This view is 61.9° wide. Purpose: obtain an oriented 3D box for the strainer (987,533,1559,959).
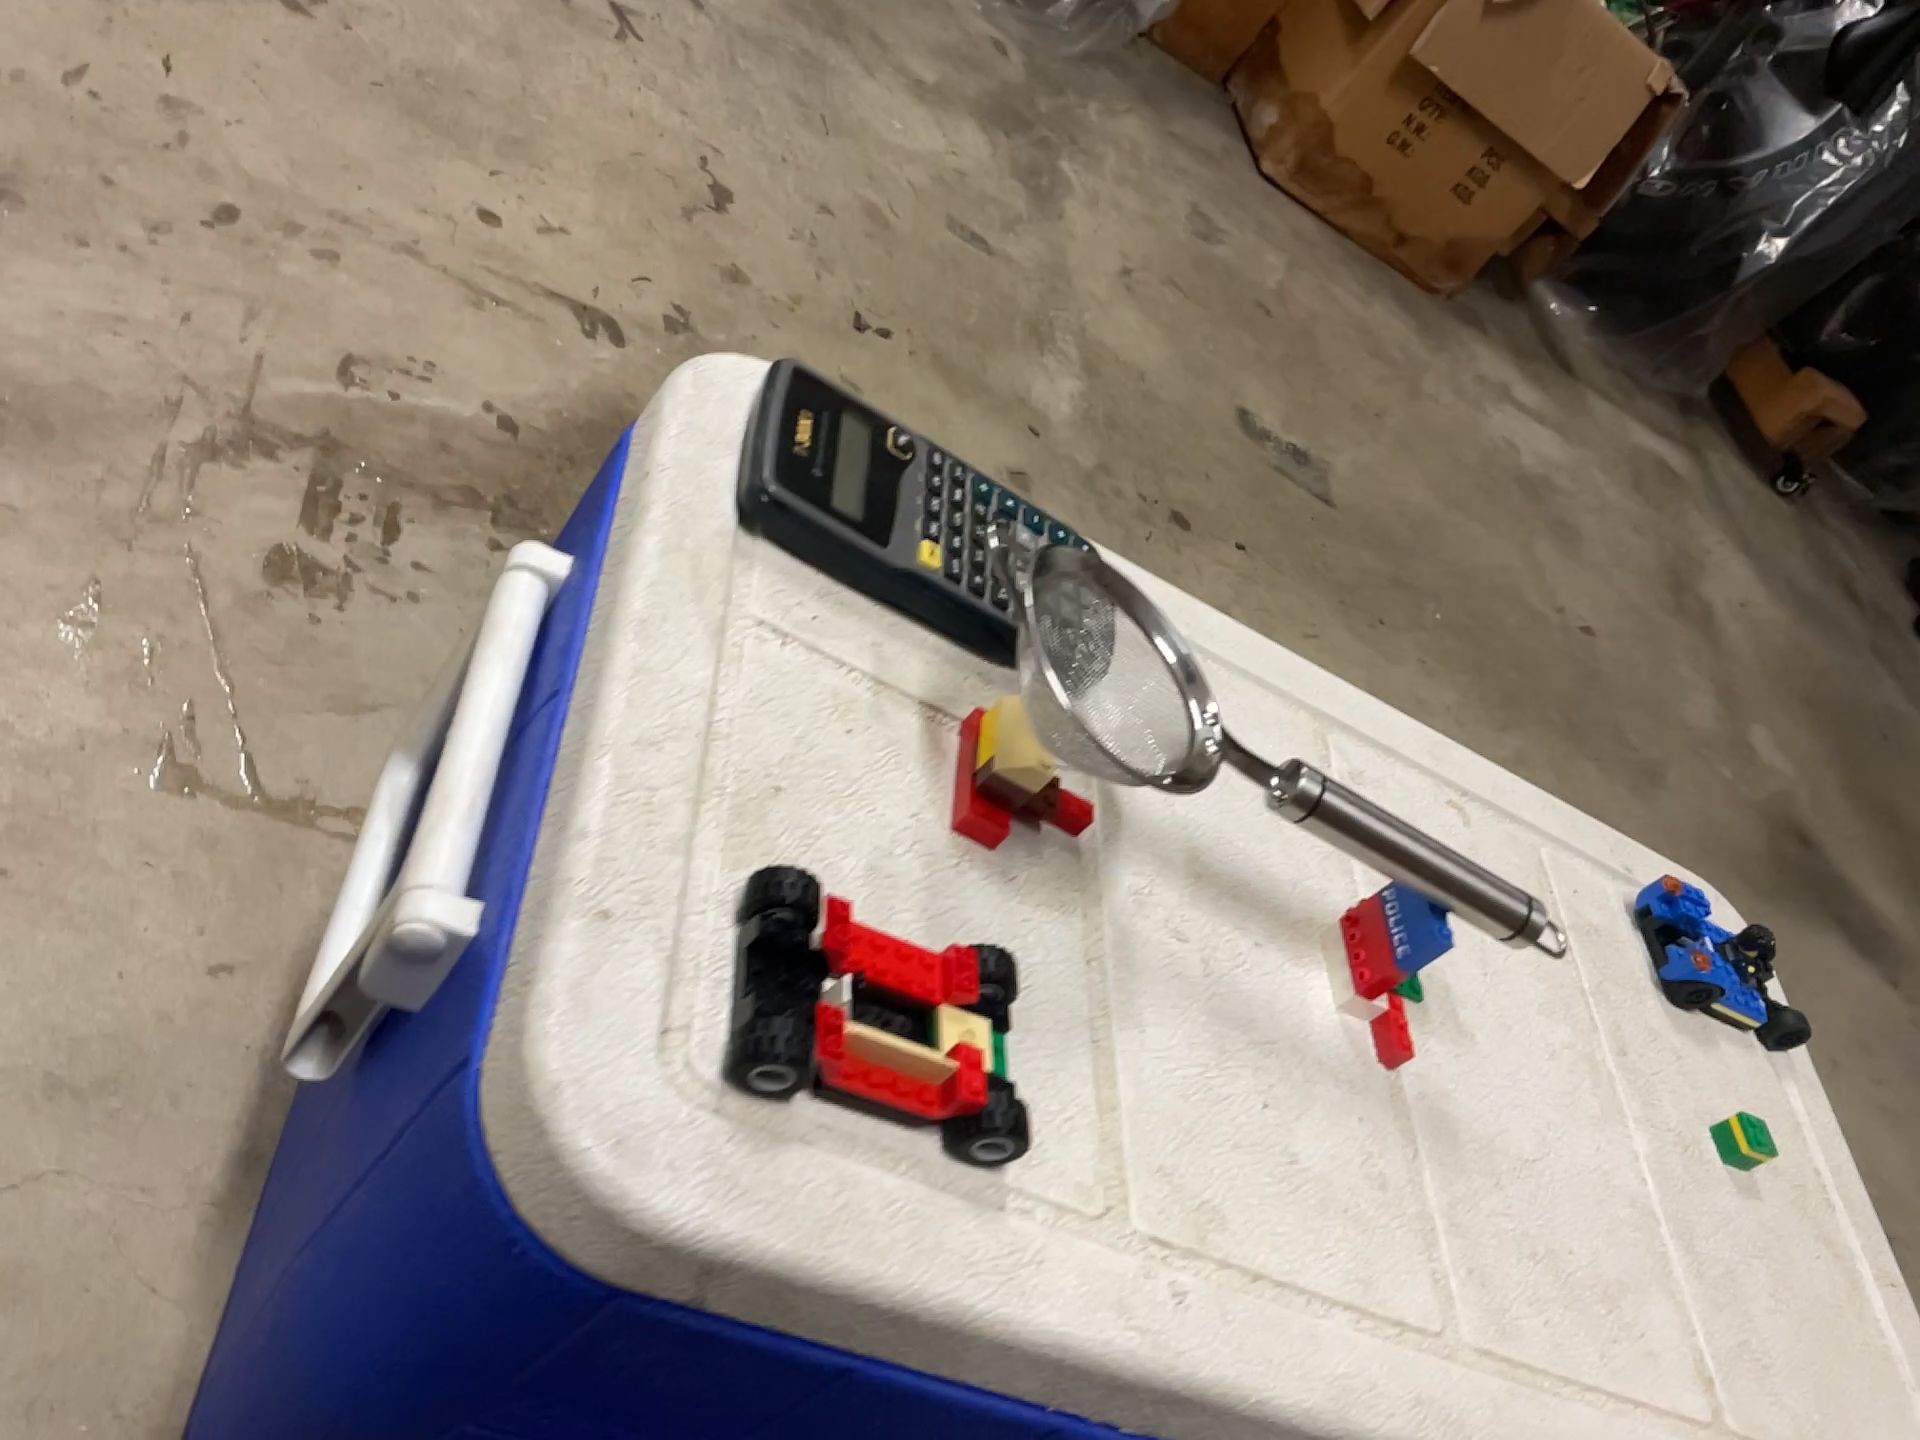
[{"bbox_3d":[0.100,0.022,0.507,0.258,0.050,0.087,29,41,-21],"label":"strainer"}]
